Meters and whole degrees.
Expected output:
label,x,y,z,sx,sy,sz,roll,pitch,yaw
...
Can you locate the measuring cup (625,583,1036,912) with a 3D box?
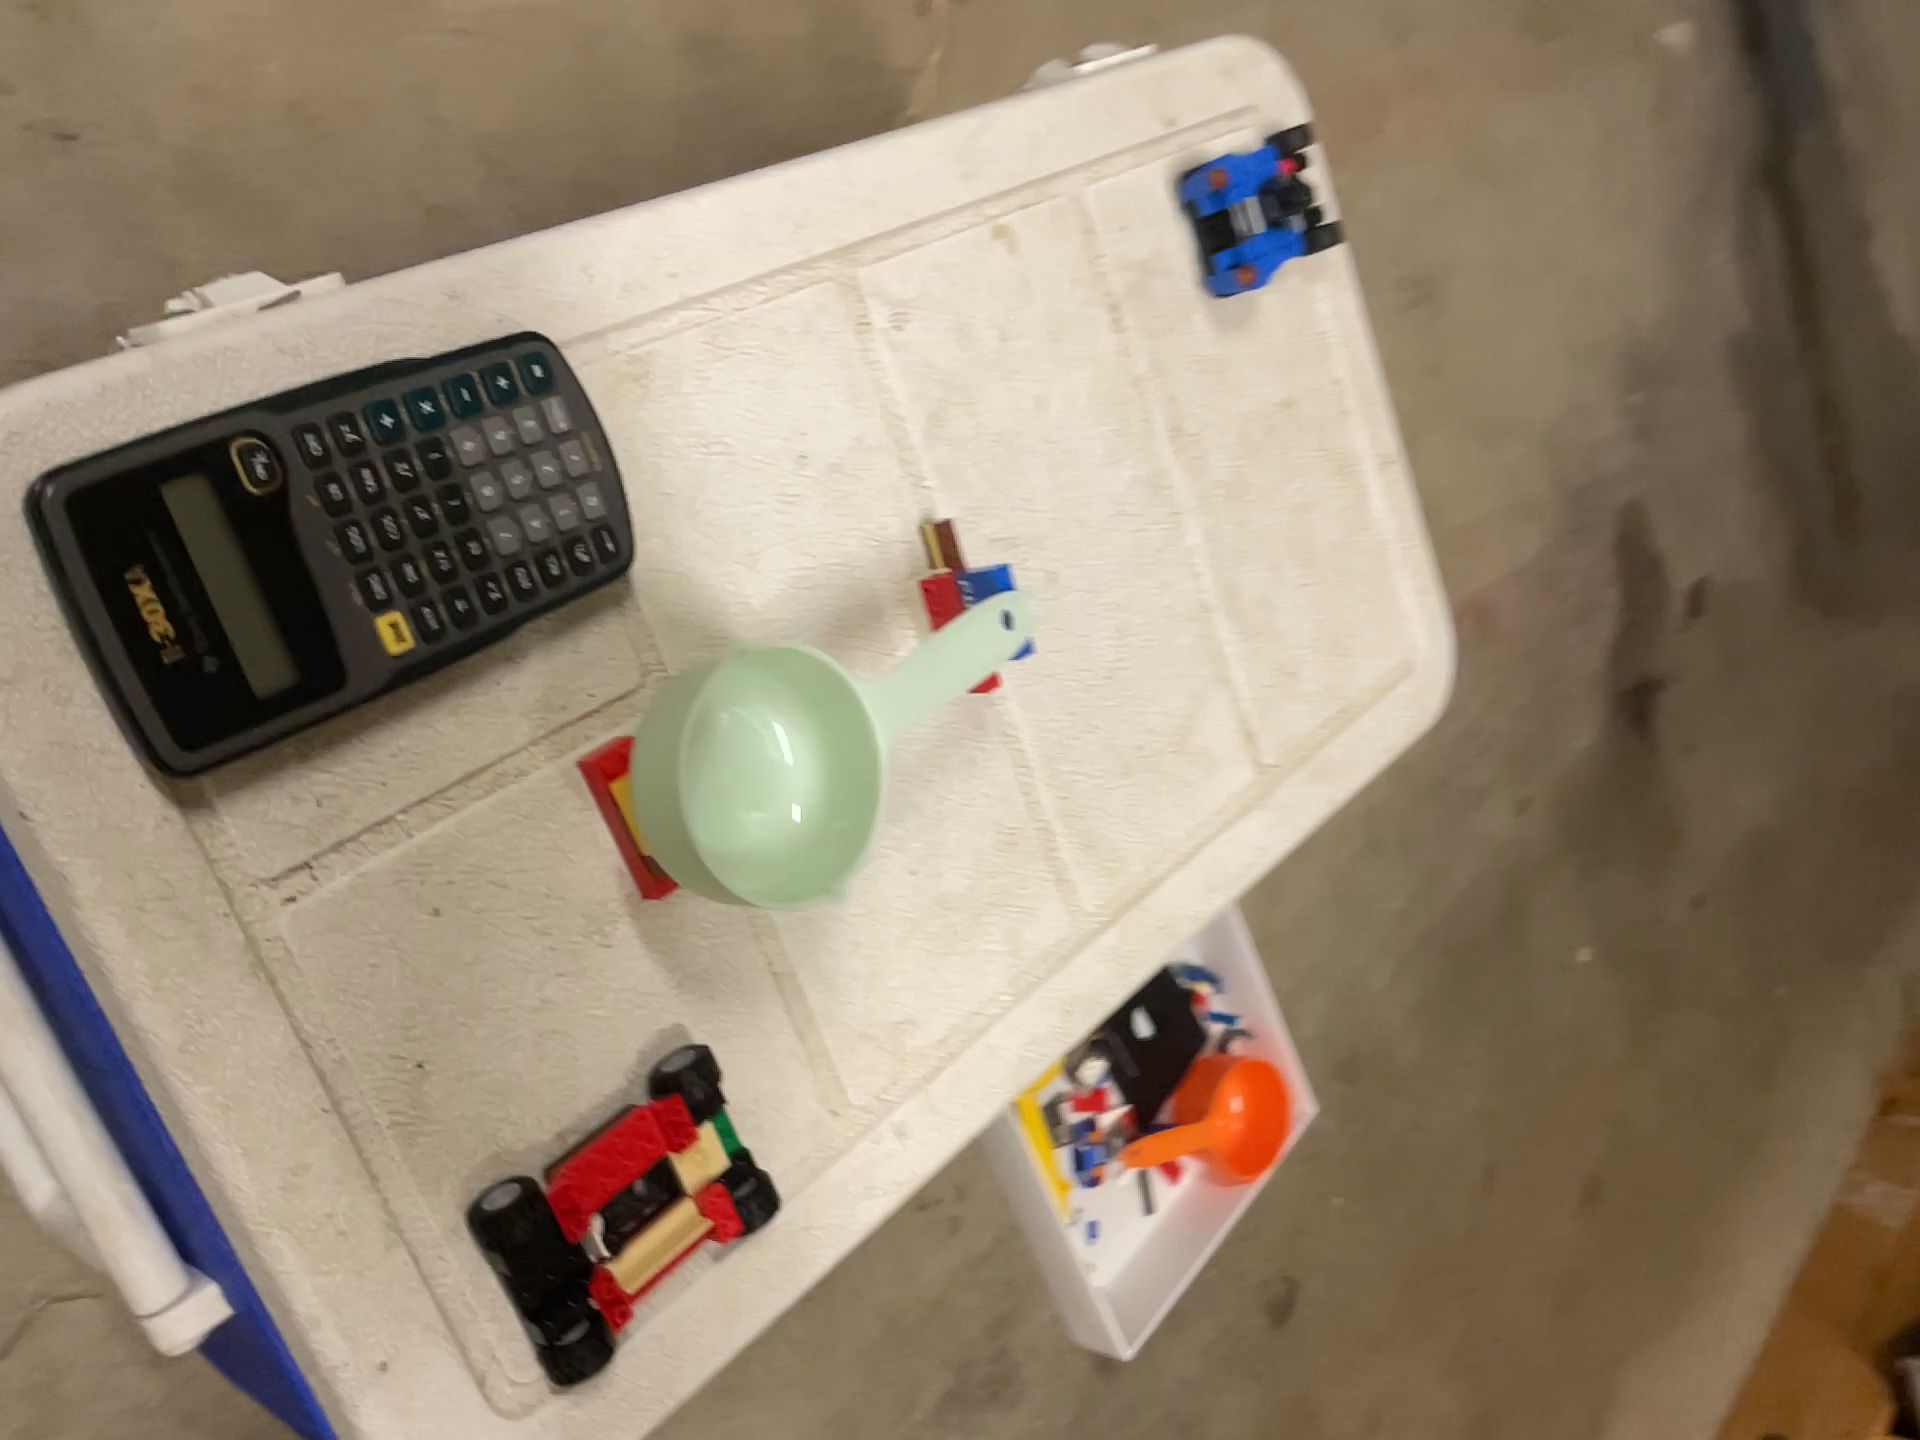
label,x,y,z,sx,sy,sz,roll,pitch,yaw
measuring cup,-0.035,-0.003,0.492,0.168,0.038,0.083,-38,112,-44
